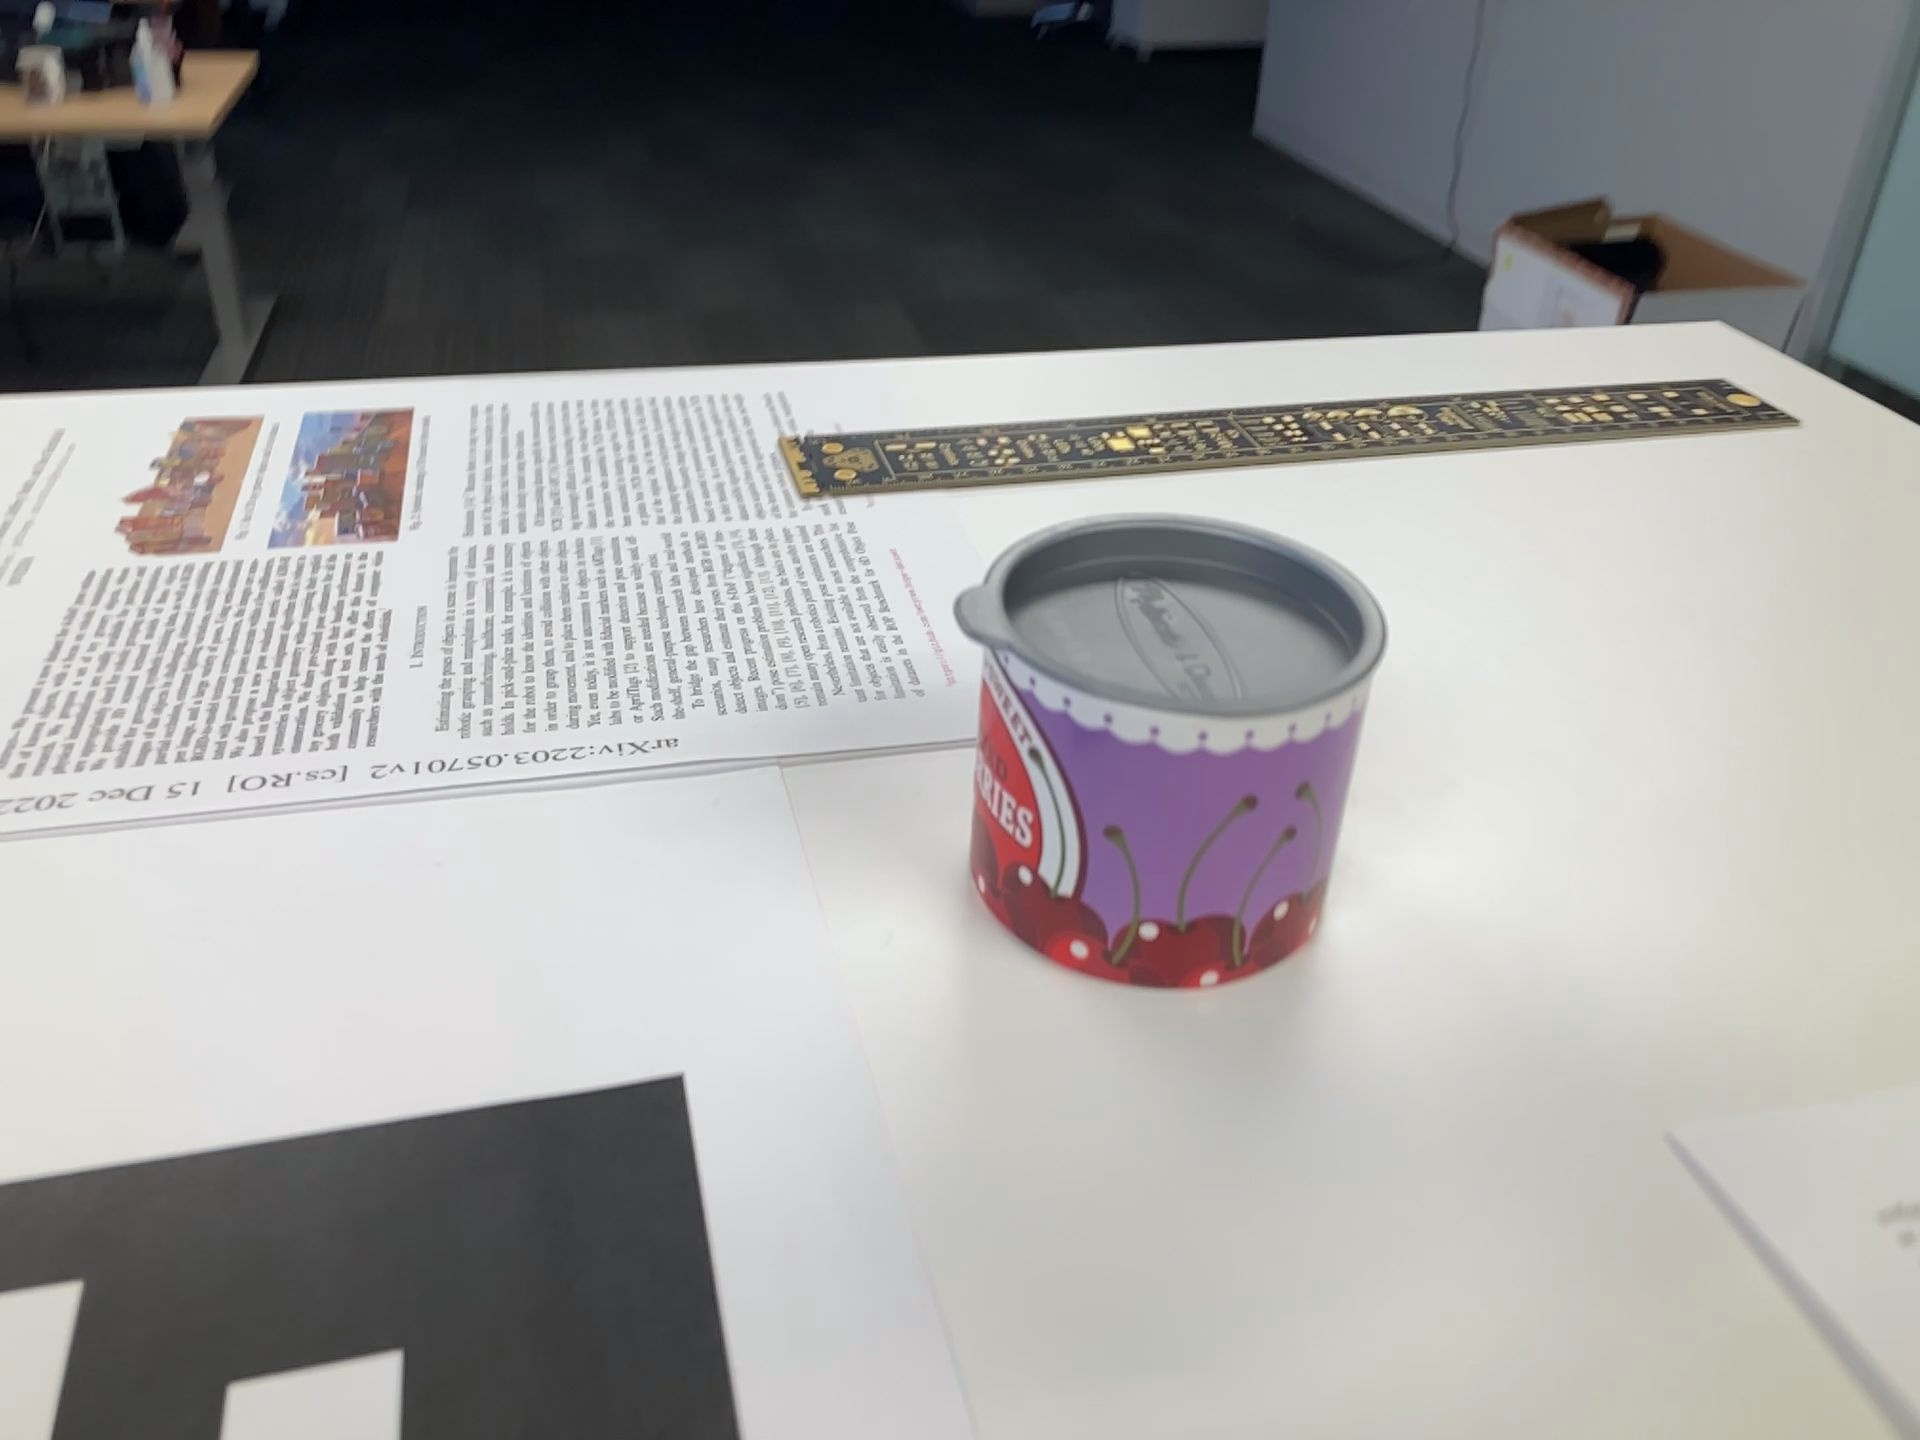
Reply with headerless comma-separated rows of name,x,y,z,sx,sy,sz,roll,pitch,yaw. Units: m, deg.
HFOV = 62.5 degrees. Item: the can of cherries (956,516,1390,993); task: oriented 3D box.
can of cherries,0.033,0.005,0.275,0.071,0.058,0.071,2,33,-1
